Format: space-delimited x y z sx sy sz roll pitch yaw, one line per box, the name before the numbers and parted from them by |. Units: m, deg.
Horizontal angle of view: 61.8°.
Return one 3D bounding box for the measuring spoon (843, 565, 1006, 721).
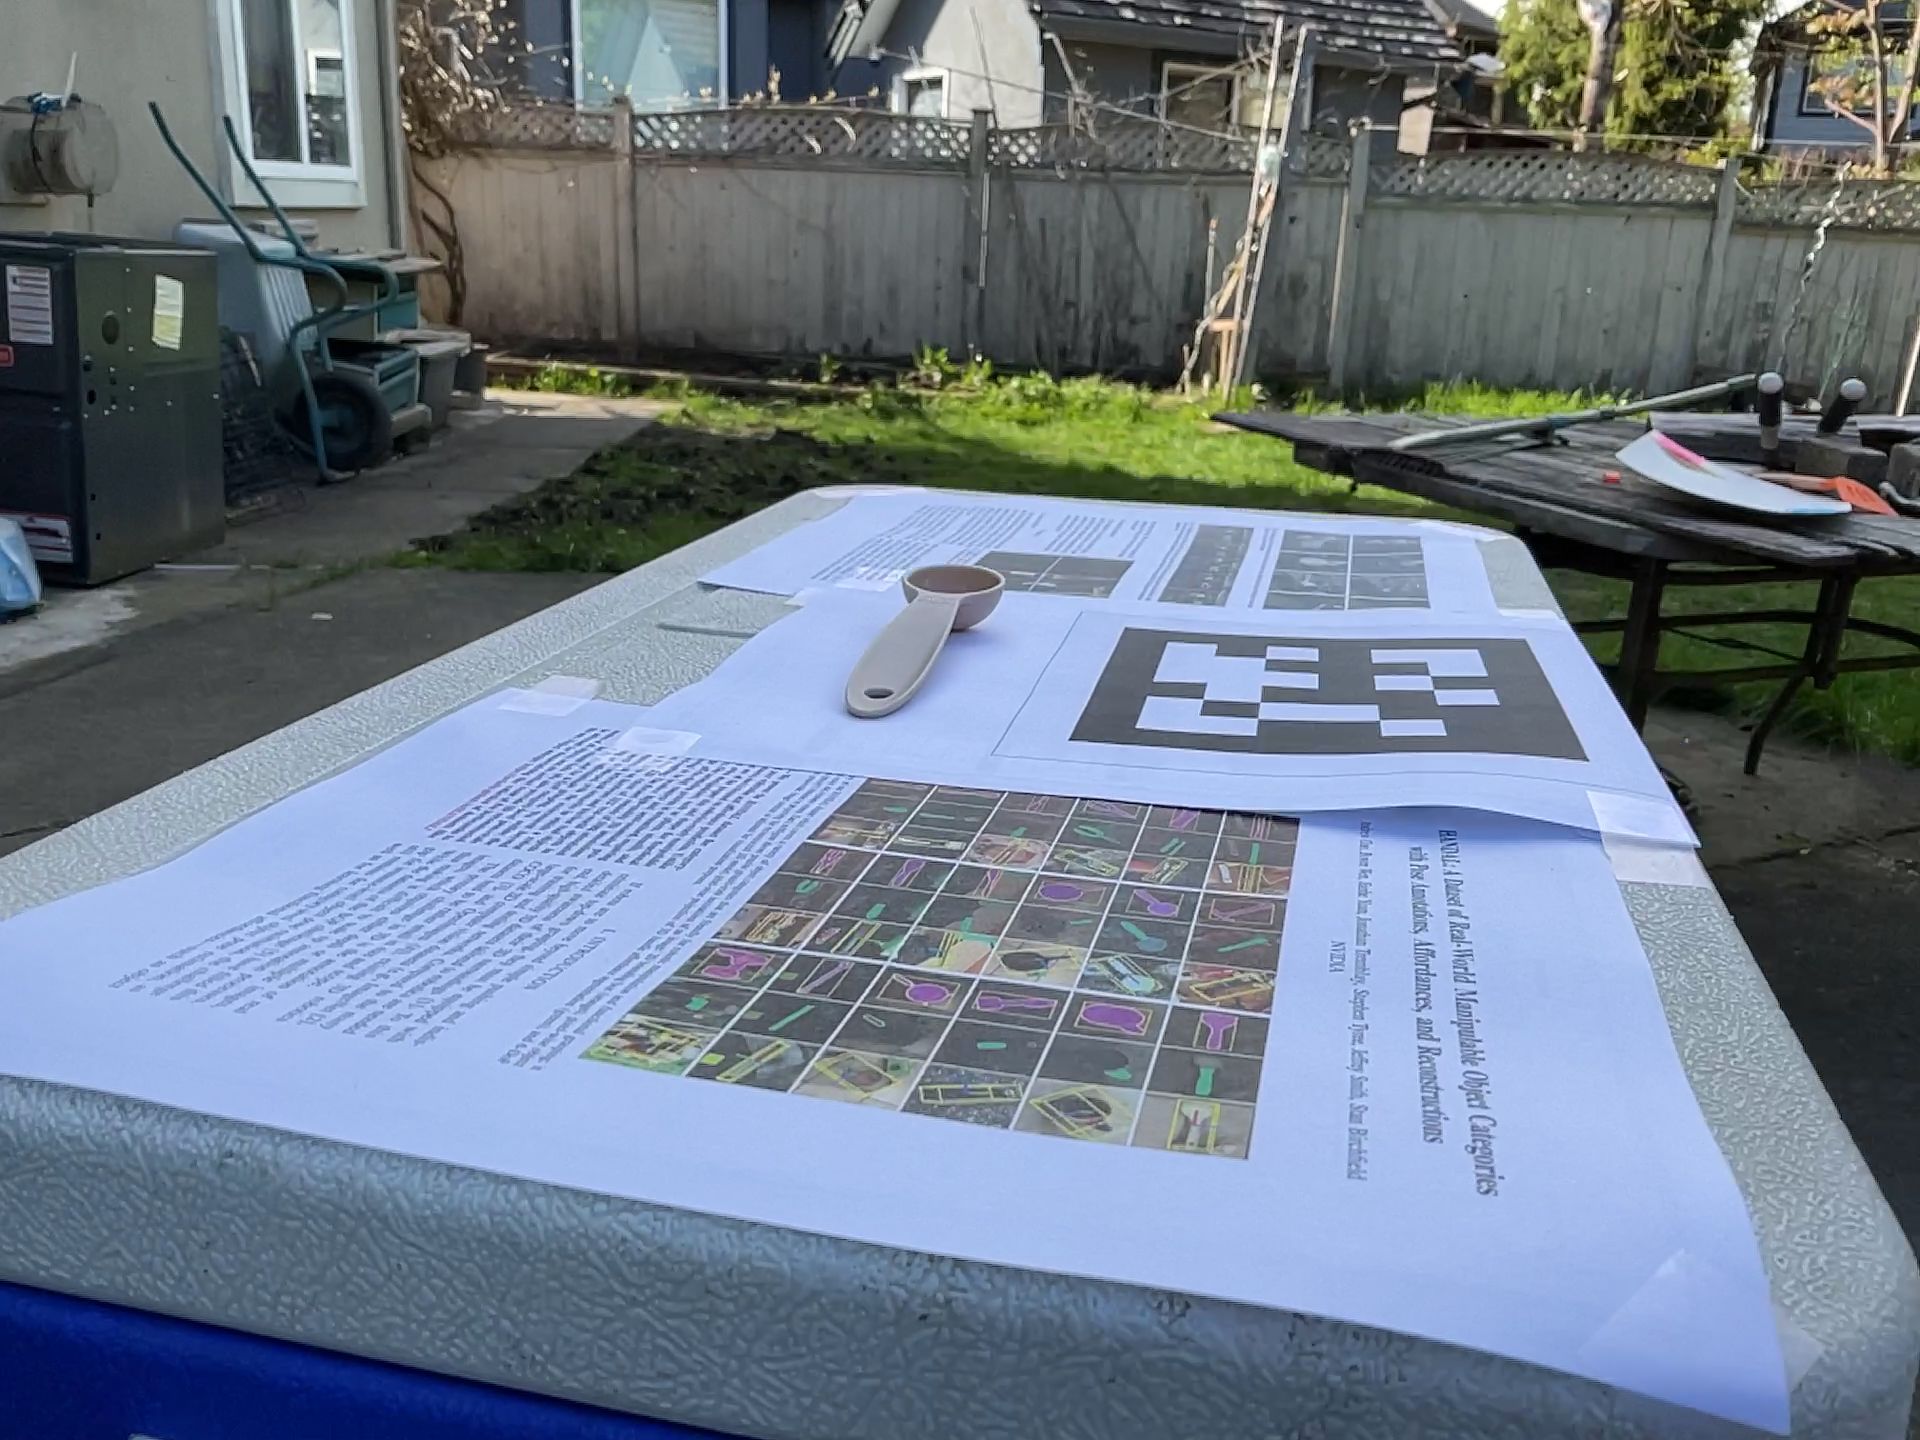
measuring spoon | -0.013 -0.021 0.482 0.034 0.018 0.124 7 25 11
